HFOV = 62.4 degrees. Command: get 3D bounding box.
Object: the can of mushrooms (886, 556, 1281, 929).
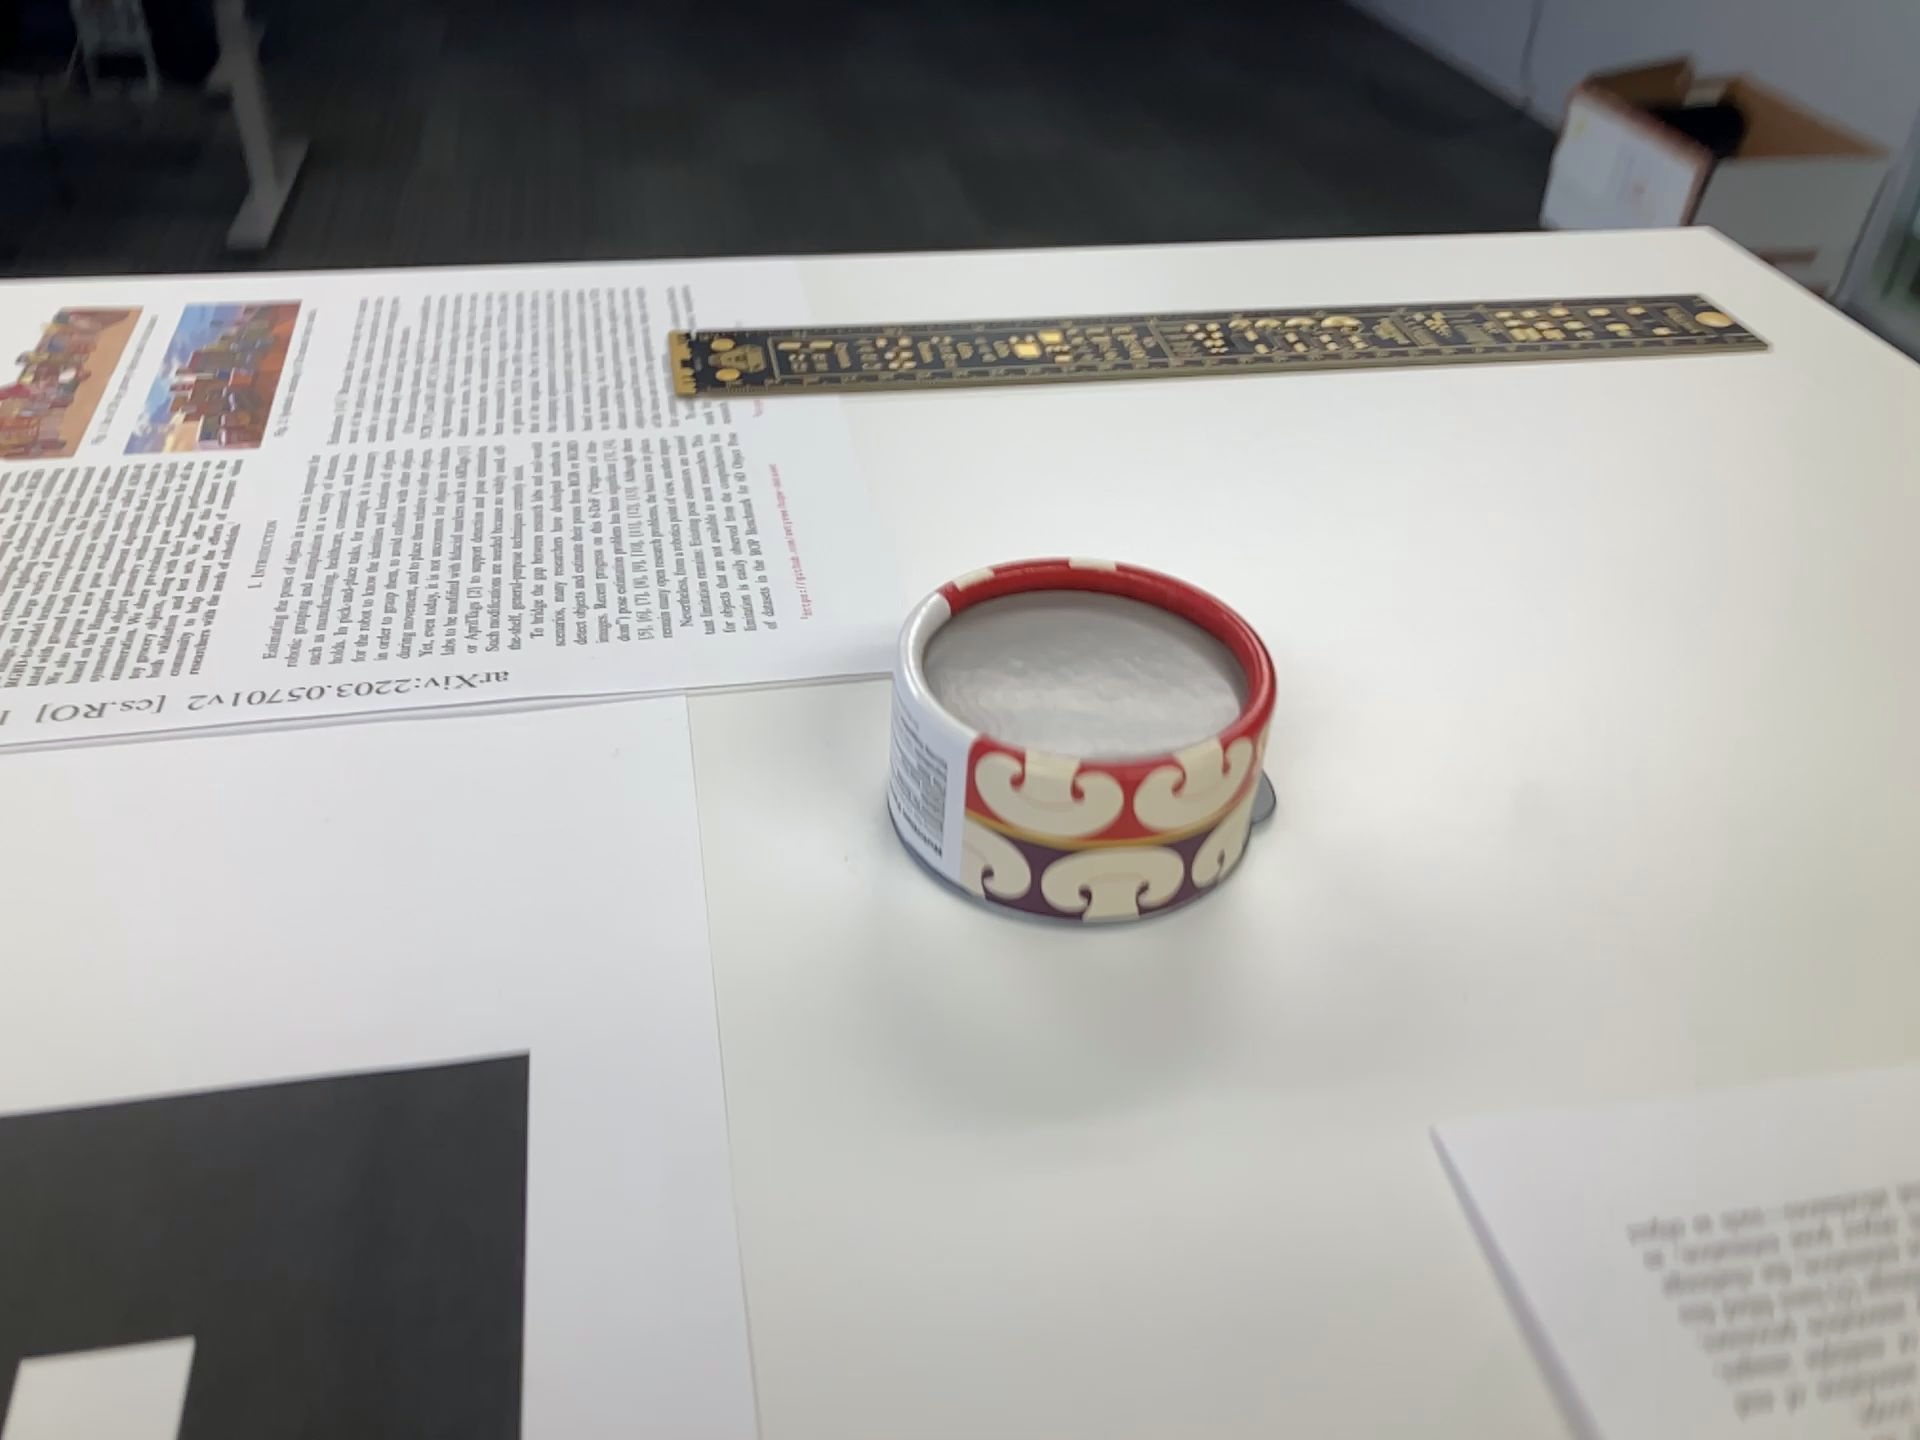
[{"bbox_3d":[0.023,0.001,0.276,0.071,0.033,0.071,3,36,-2],"label":"can of mushrooms"}]
